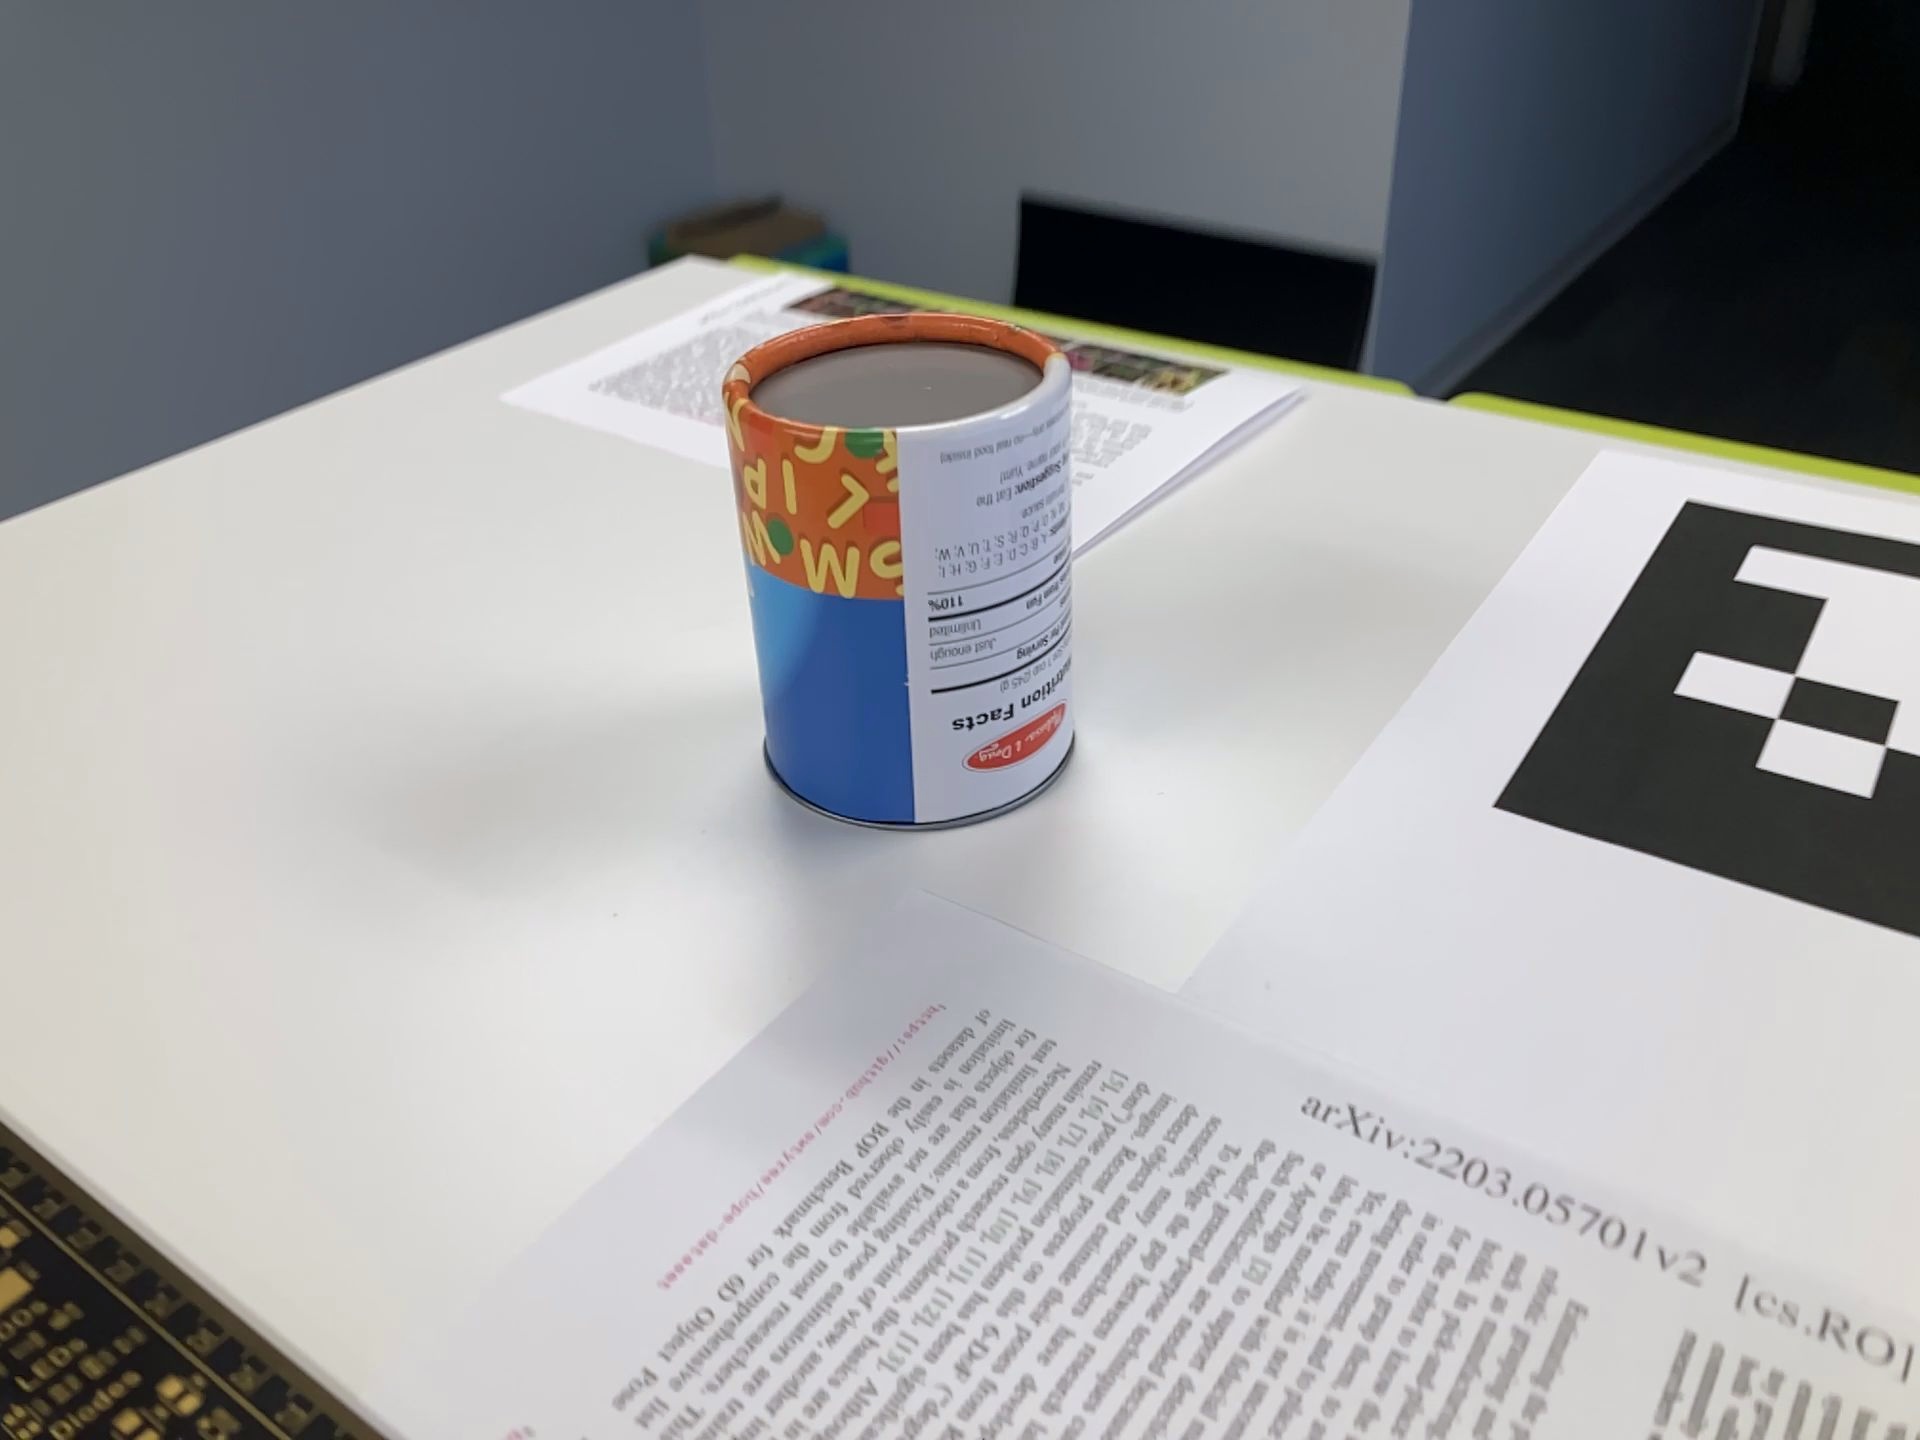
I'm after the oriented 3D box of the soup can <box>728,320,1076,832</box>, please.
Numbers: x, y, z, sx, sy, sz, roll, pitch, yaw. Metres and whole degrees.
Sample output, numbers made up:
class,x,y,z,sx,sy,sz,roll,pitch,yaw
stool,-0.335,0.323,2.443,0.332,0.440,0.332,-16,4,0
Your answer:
class,x,y,z,sx,sy,sz,roll,pitch,yaw
soup can,-0.012,-0.031,0.321,0.071,0.084,0.071,-2,32,1
